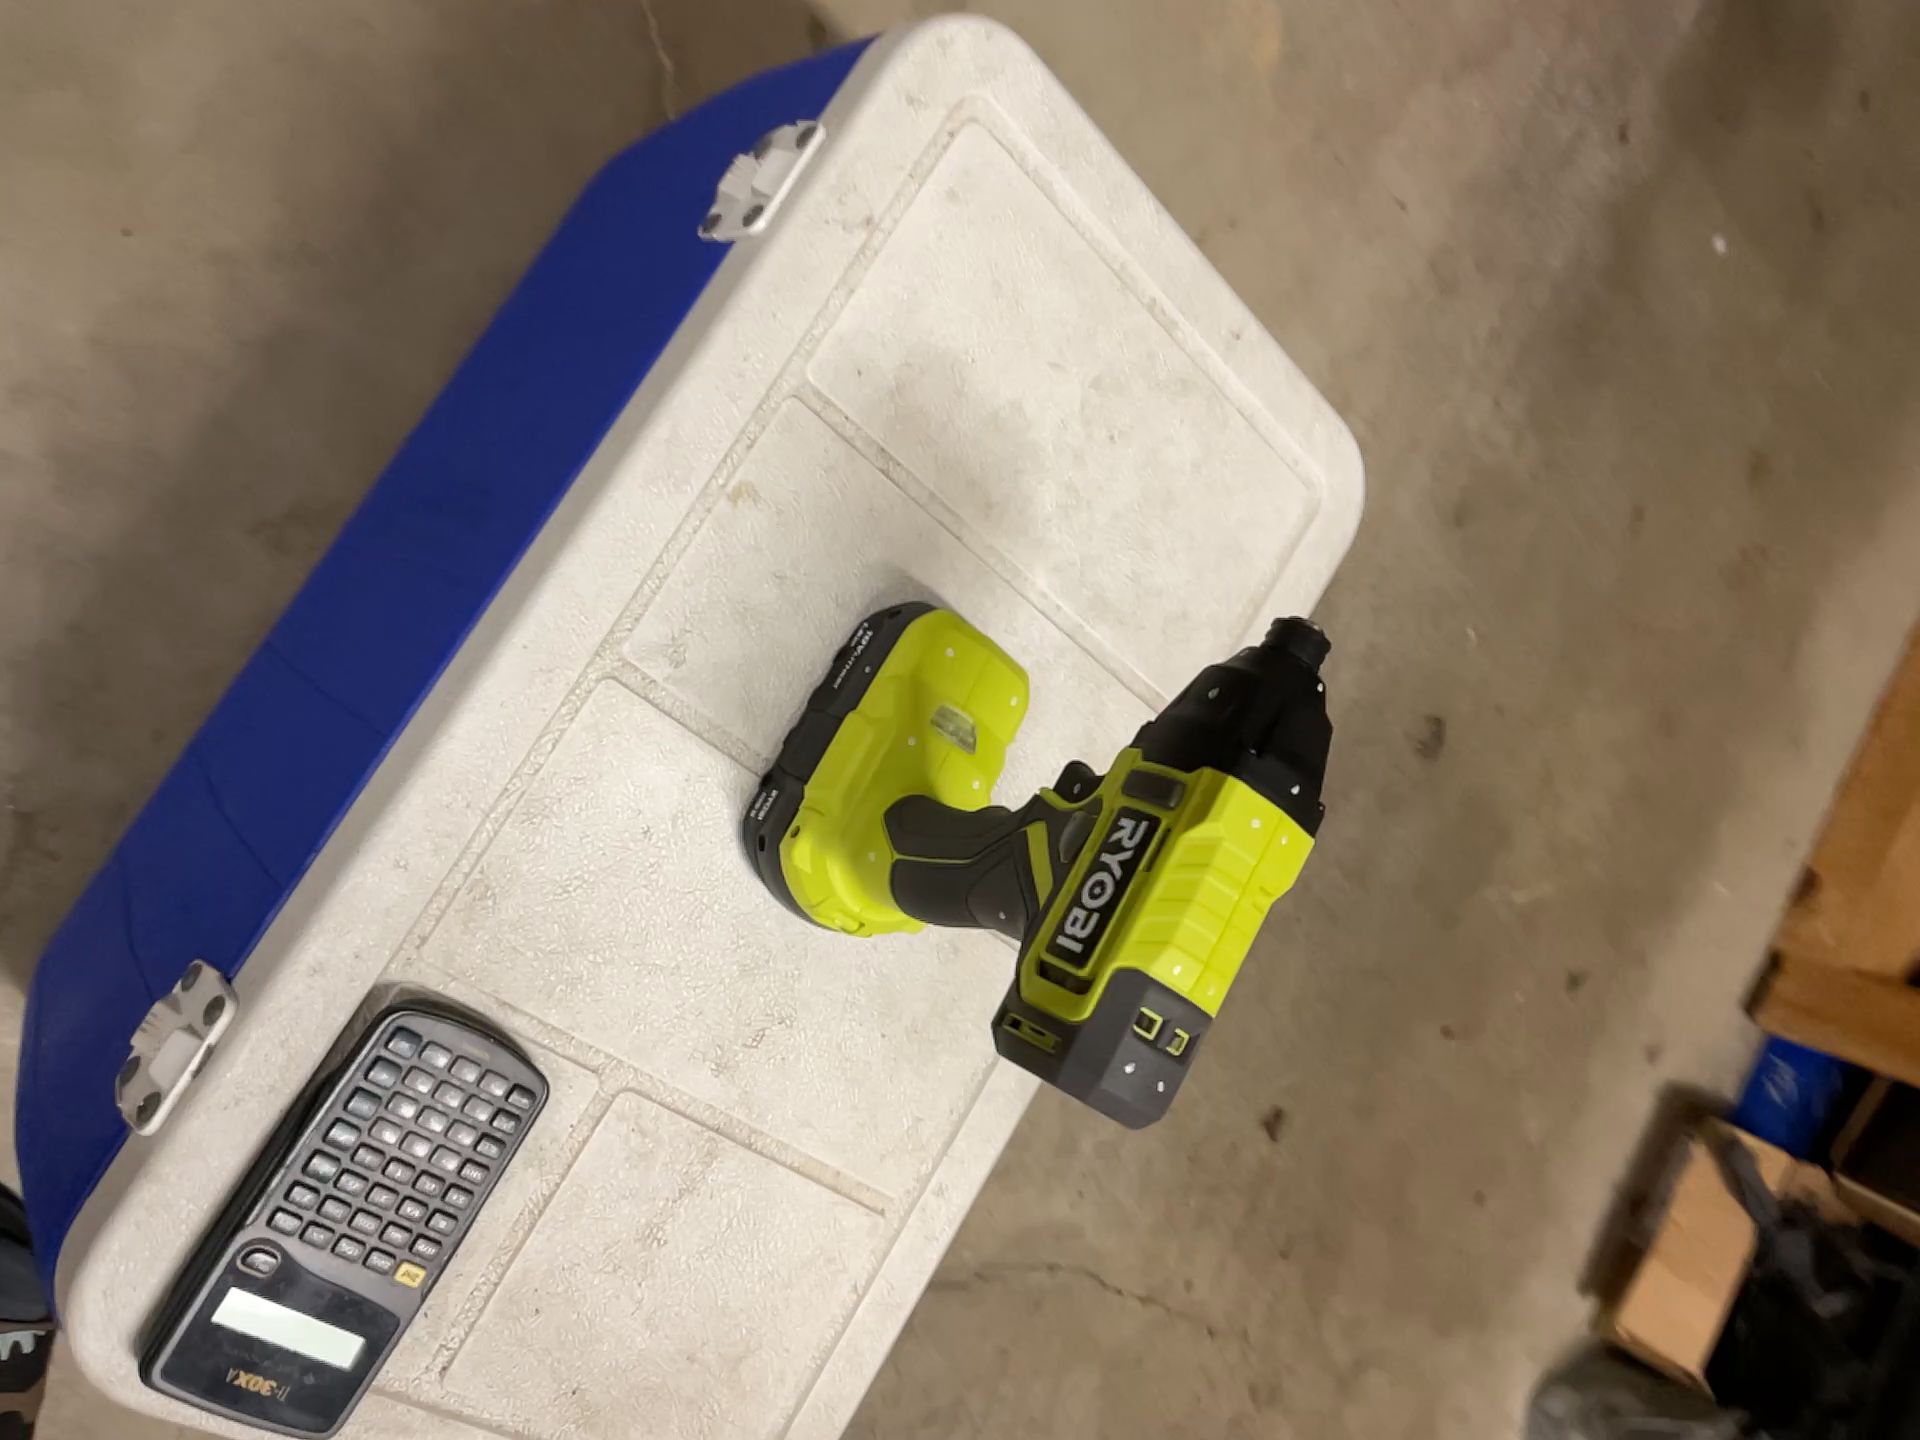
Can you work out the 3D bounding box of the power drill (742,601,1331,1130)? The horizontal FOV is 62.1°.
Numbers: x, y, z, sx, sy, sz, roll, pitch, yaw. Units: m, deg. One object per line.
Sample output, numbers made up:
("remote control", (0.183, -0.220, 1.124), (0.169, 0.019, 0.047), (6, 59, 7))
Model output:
("power drill", (0.026, 0.030, 0.582), (0.080, 0.223, 0.171), (36, 78, -35))
